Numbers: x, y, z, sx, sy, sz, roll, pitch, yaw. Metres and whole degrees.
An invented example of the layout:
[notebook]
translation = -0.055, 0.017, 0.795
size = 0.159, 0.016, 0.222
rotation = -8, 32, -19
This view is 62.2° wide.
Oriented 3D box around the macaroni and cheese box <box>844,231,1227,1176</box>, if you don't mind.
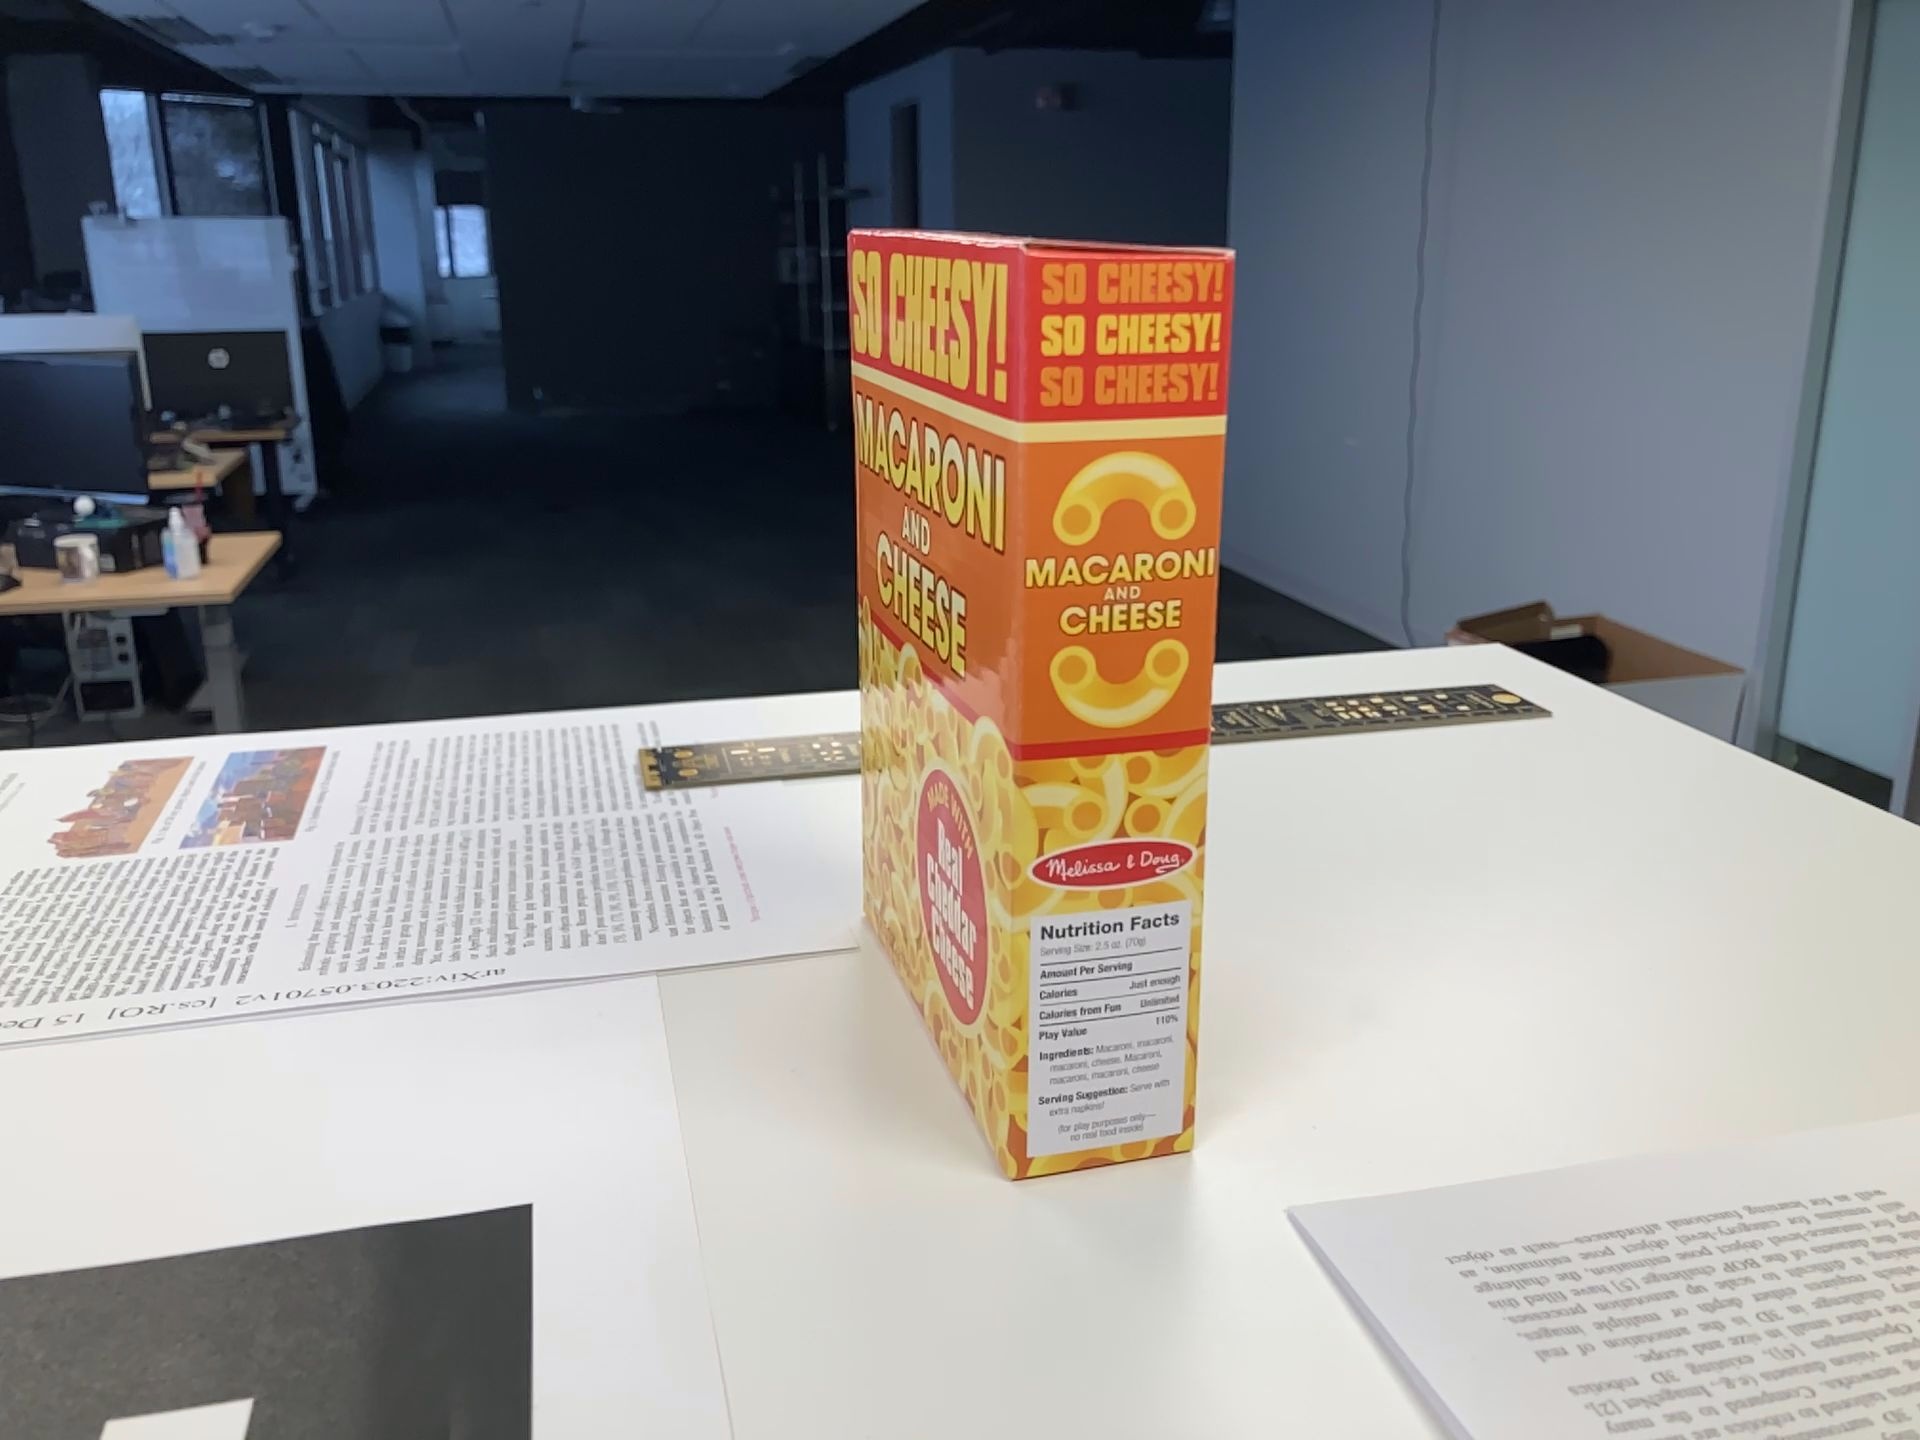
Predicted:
[macaroni and cheese box]
translation = 0.010, -0.013, 0.330
size = 0.040, 0.166, 0.124
rotation = -5, 17, -16
